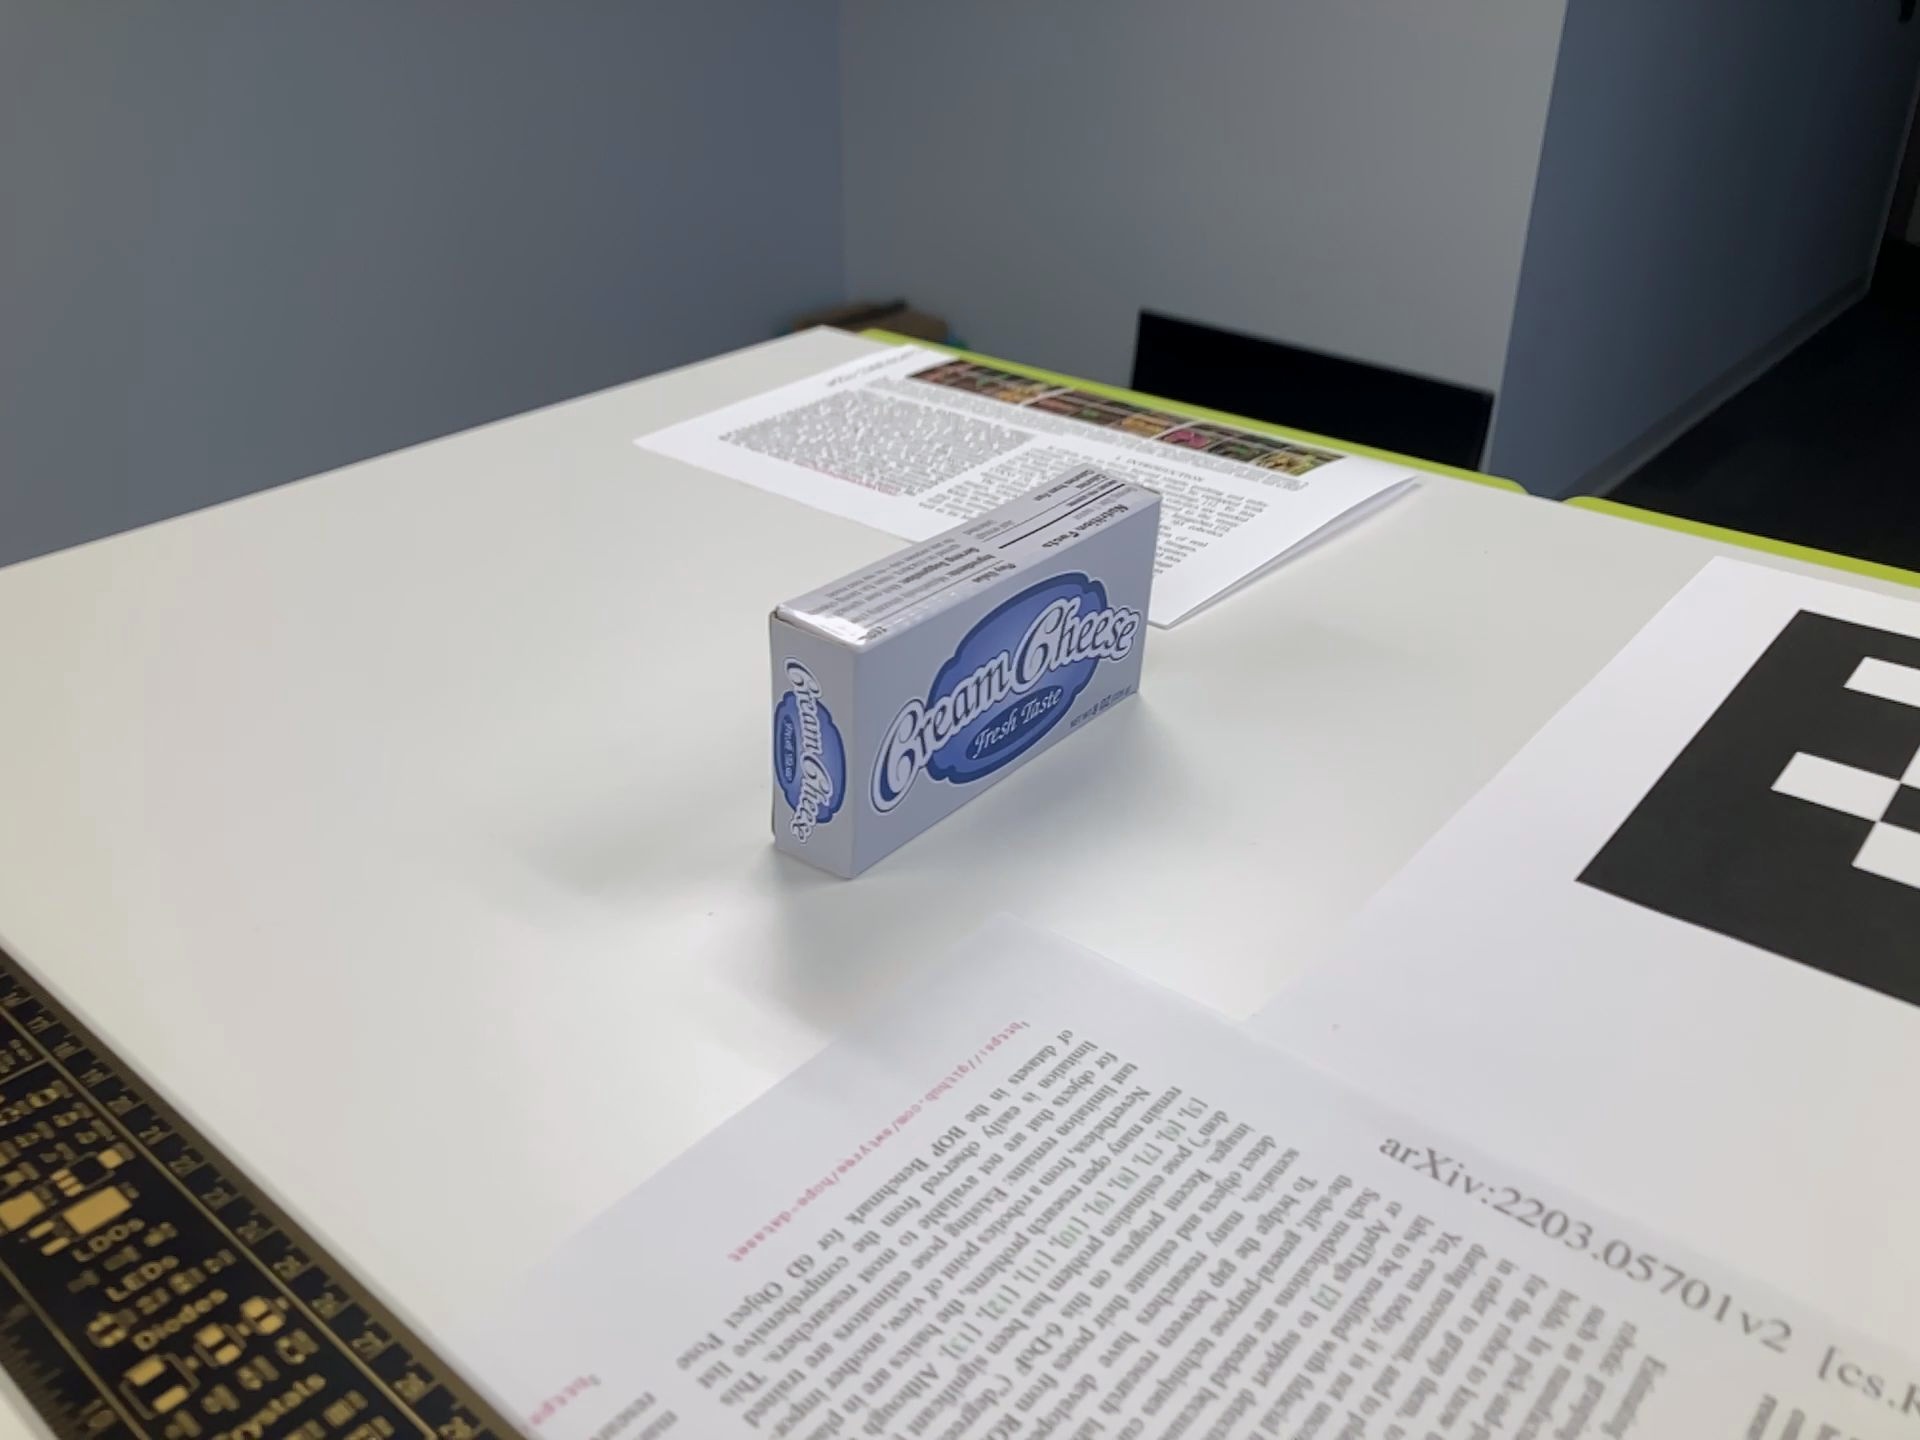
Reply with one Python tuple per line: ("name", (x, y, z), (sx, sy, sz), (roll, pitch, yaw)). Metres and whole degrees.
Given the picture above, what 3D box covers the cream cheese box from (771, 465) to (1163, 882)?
("cream cheese box", (0.003, -0.013, 0.335), (0.024, 0.053, 0.104), (23, 37, 32))
